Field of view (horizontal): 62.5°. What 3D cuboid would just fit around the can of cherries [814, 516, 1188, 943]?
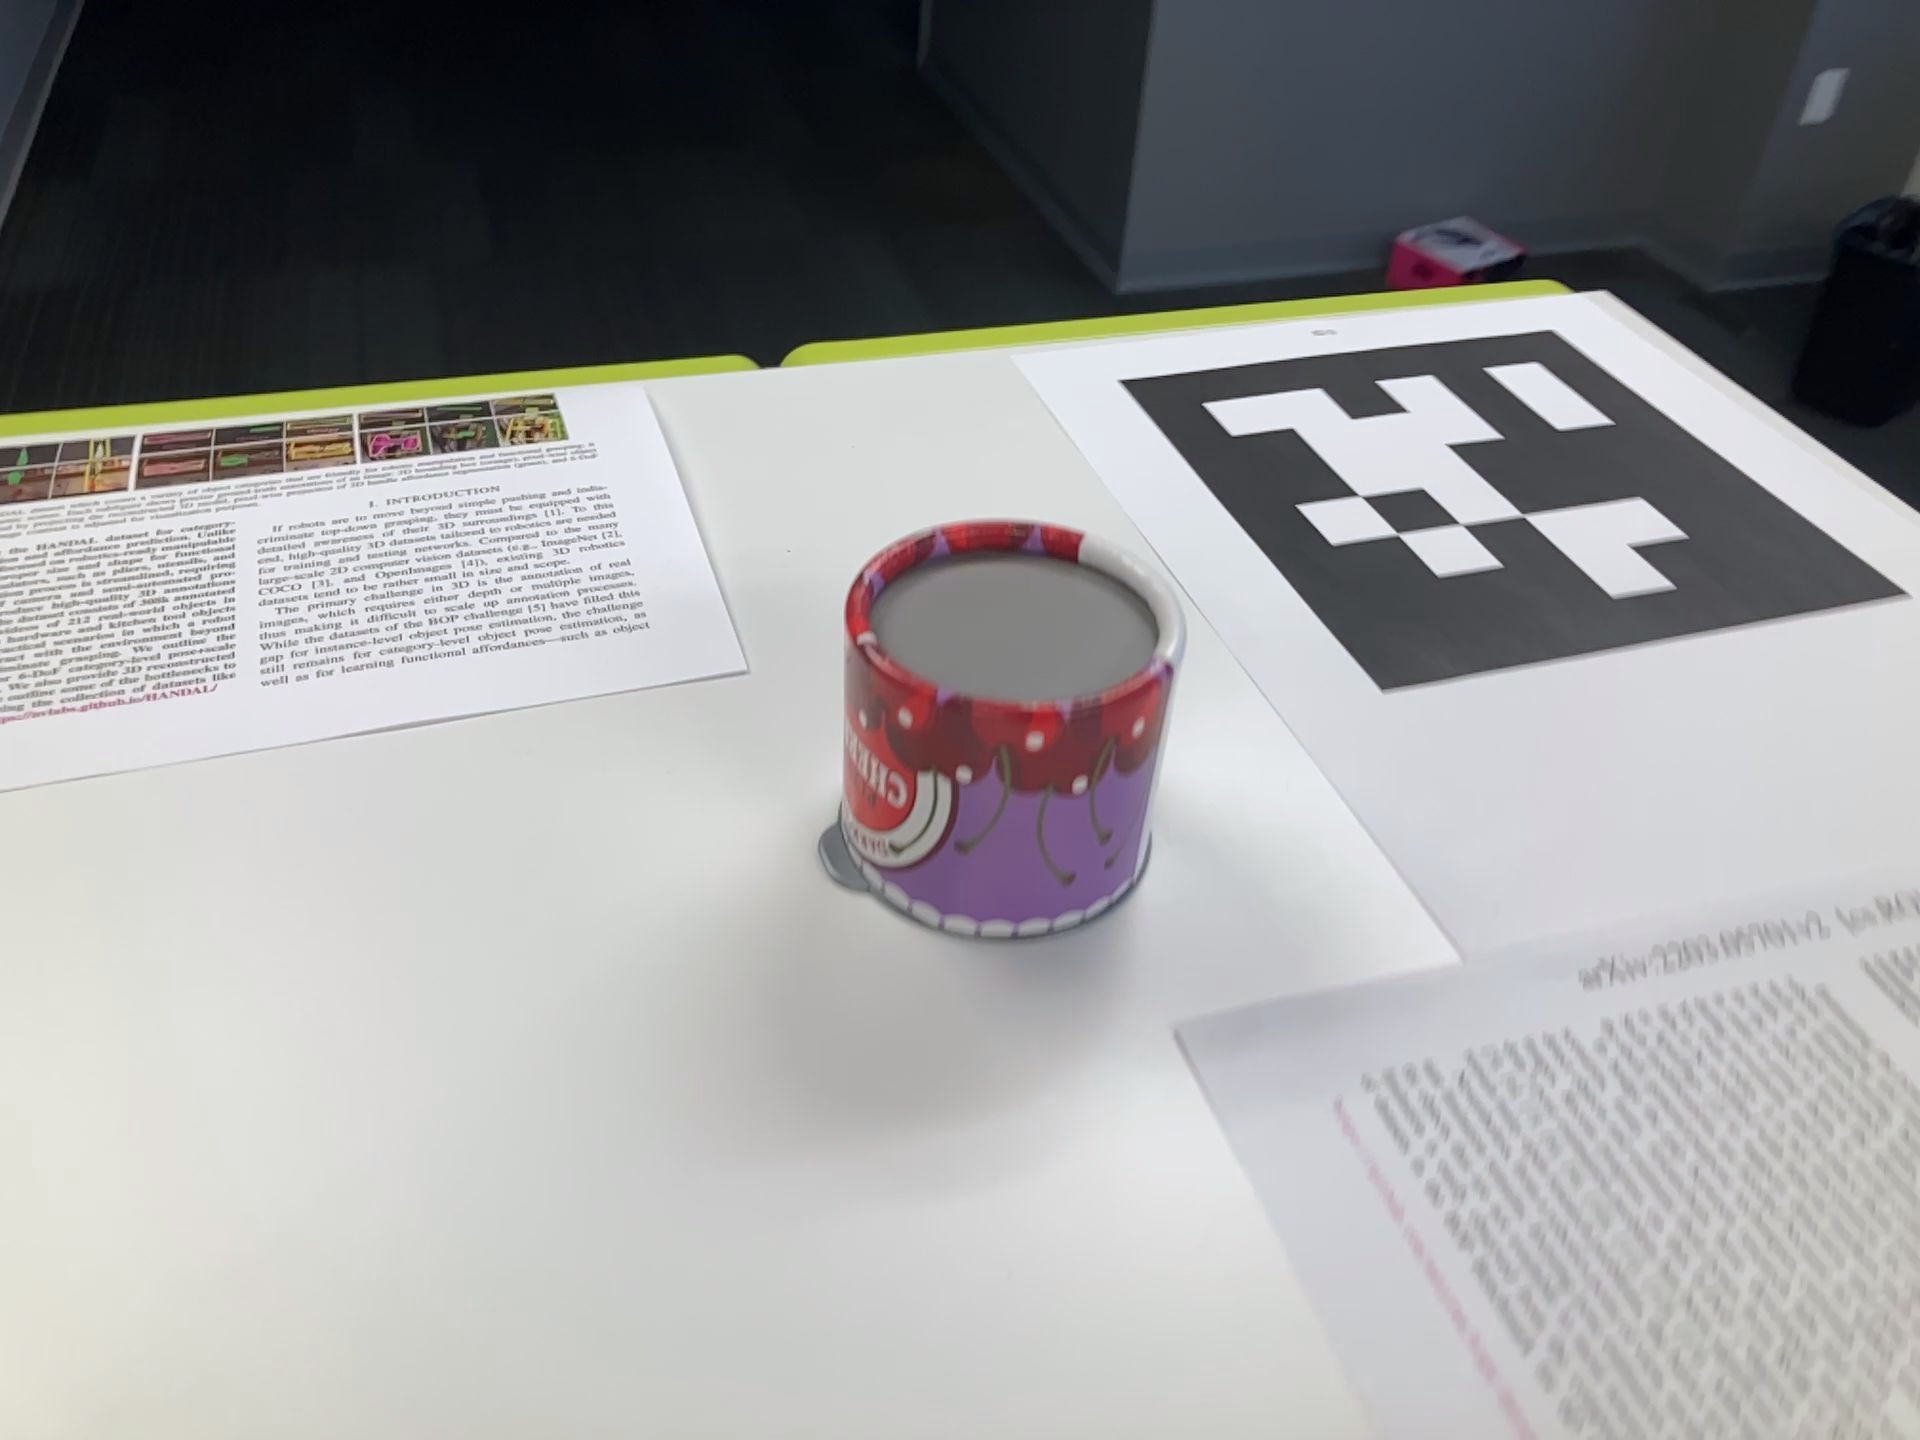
[{"bbox_3d":[0.007,0.001,0.314,0.071,0.058,0.071,2,40,-2],"label":"can of cherries"}]
